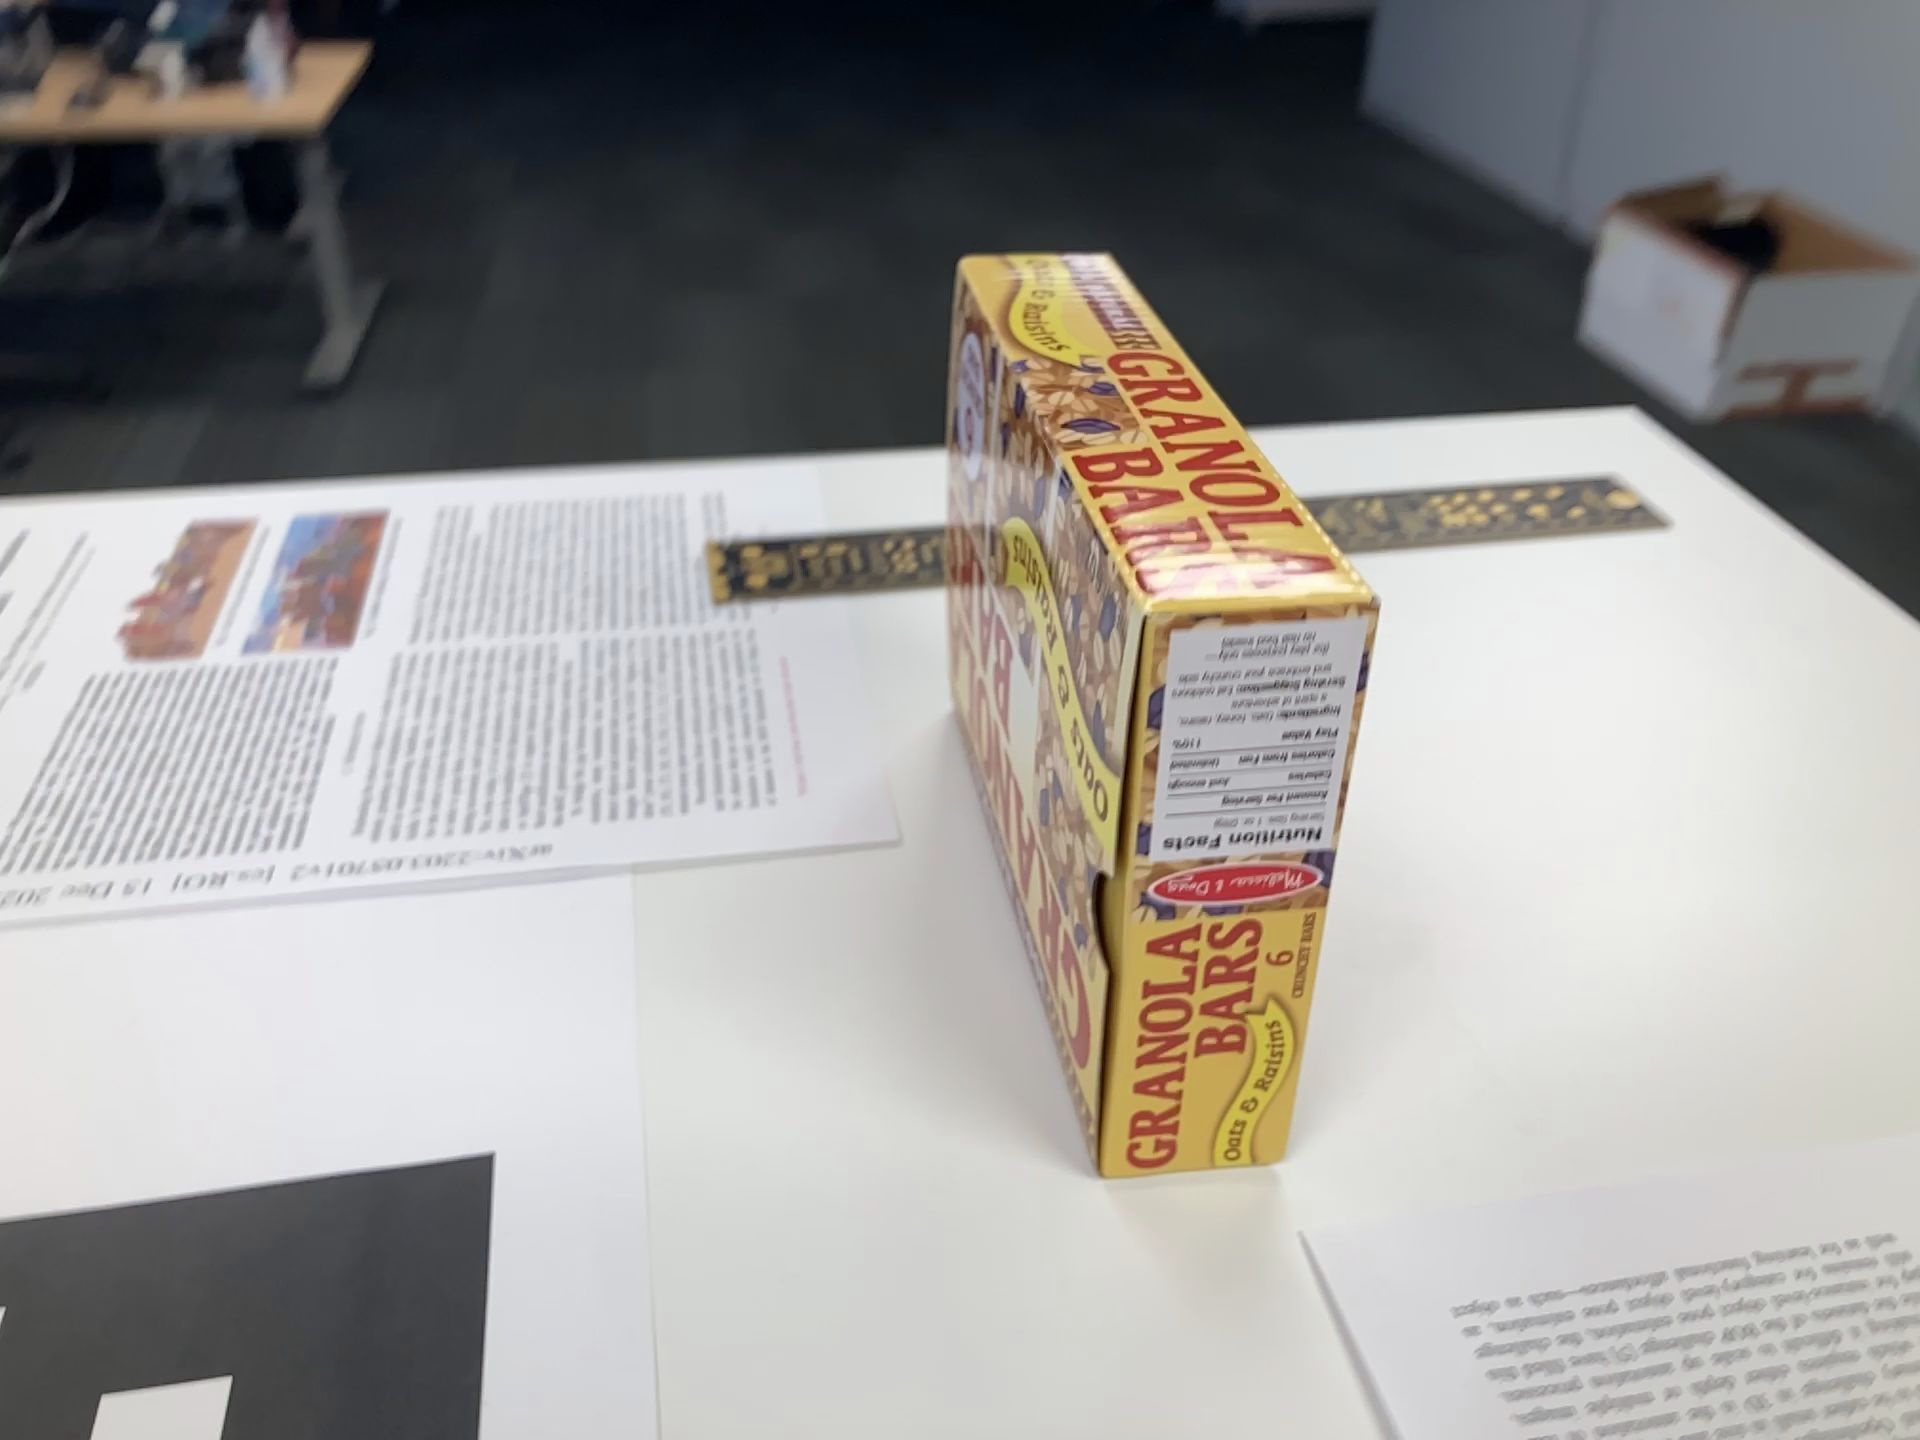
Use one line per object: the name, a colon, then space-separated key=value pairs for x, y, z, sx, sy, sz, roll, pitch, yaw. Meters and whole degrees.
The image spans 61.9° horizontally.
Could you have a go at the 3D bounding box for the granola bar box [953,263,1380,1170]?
granola bar box: x=0.030 y=-0.011 z=0.338 sx=0.039 sy=0.124 sz=0.165 roll=-5 pitch=34 yaw=-8
